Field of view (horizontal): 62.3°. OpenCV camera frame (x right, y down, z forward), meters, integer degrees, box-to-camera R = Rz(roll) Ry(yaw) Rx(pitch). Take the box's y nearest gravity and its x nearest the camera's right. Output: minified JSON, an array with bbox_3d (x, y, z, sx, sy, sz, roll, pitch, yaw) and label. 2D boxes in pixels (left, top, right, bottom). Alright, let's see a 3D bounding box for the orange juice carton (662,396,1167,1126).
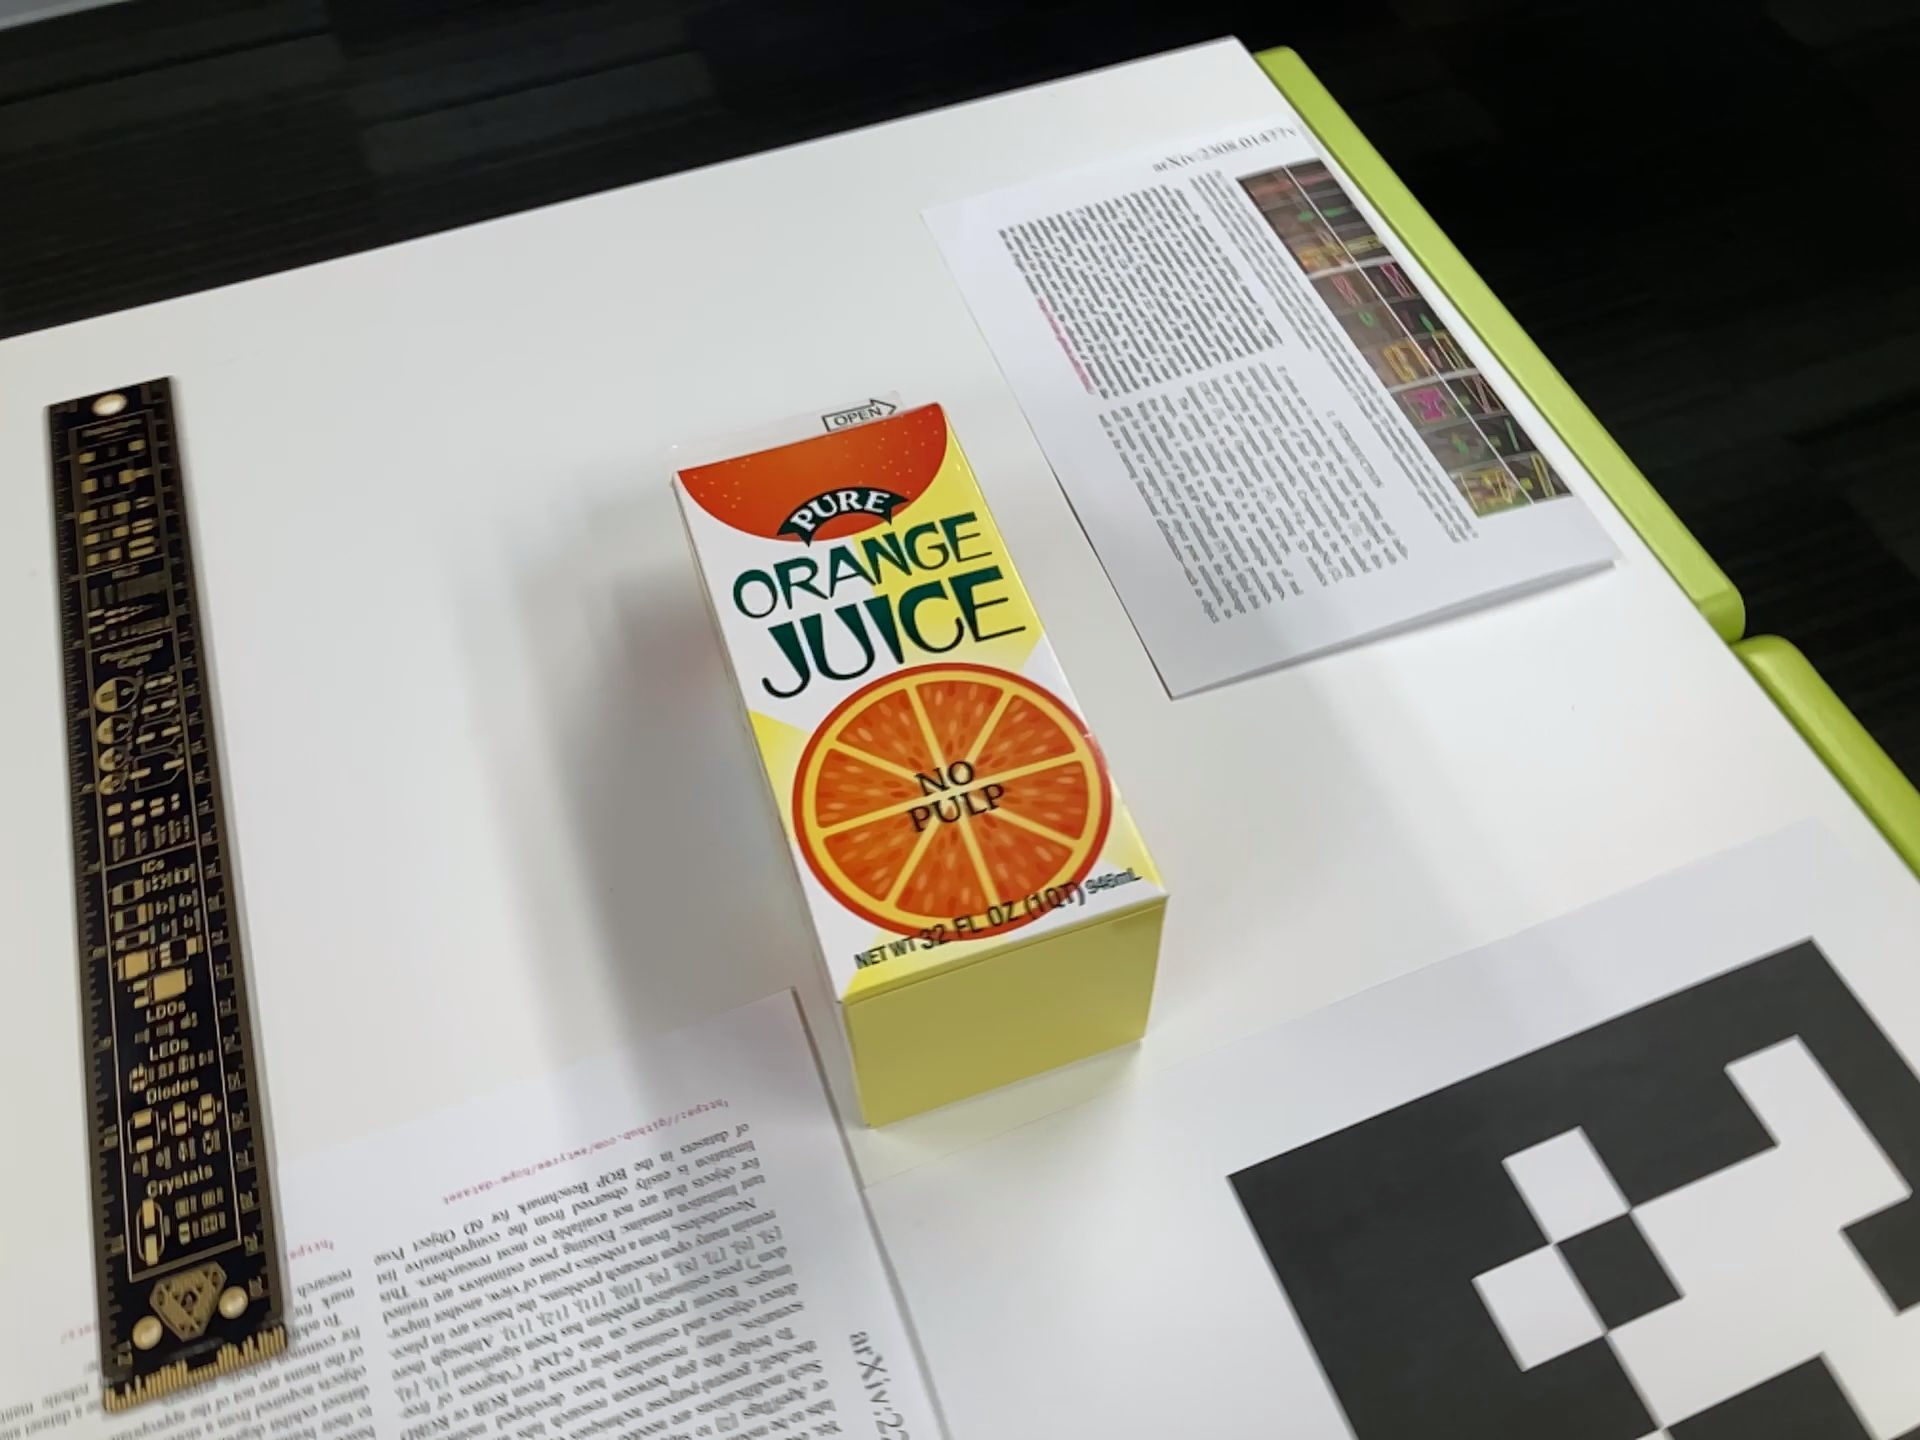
[{"bbox_3d":[-0.020,-0.008,0.398,0.072,0.073,0.192,-17,58,-9],"label":"orange juice carton"}]
